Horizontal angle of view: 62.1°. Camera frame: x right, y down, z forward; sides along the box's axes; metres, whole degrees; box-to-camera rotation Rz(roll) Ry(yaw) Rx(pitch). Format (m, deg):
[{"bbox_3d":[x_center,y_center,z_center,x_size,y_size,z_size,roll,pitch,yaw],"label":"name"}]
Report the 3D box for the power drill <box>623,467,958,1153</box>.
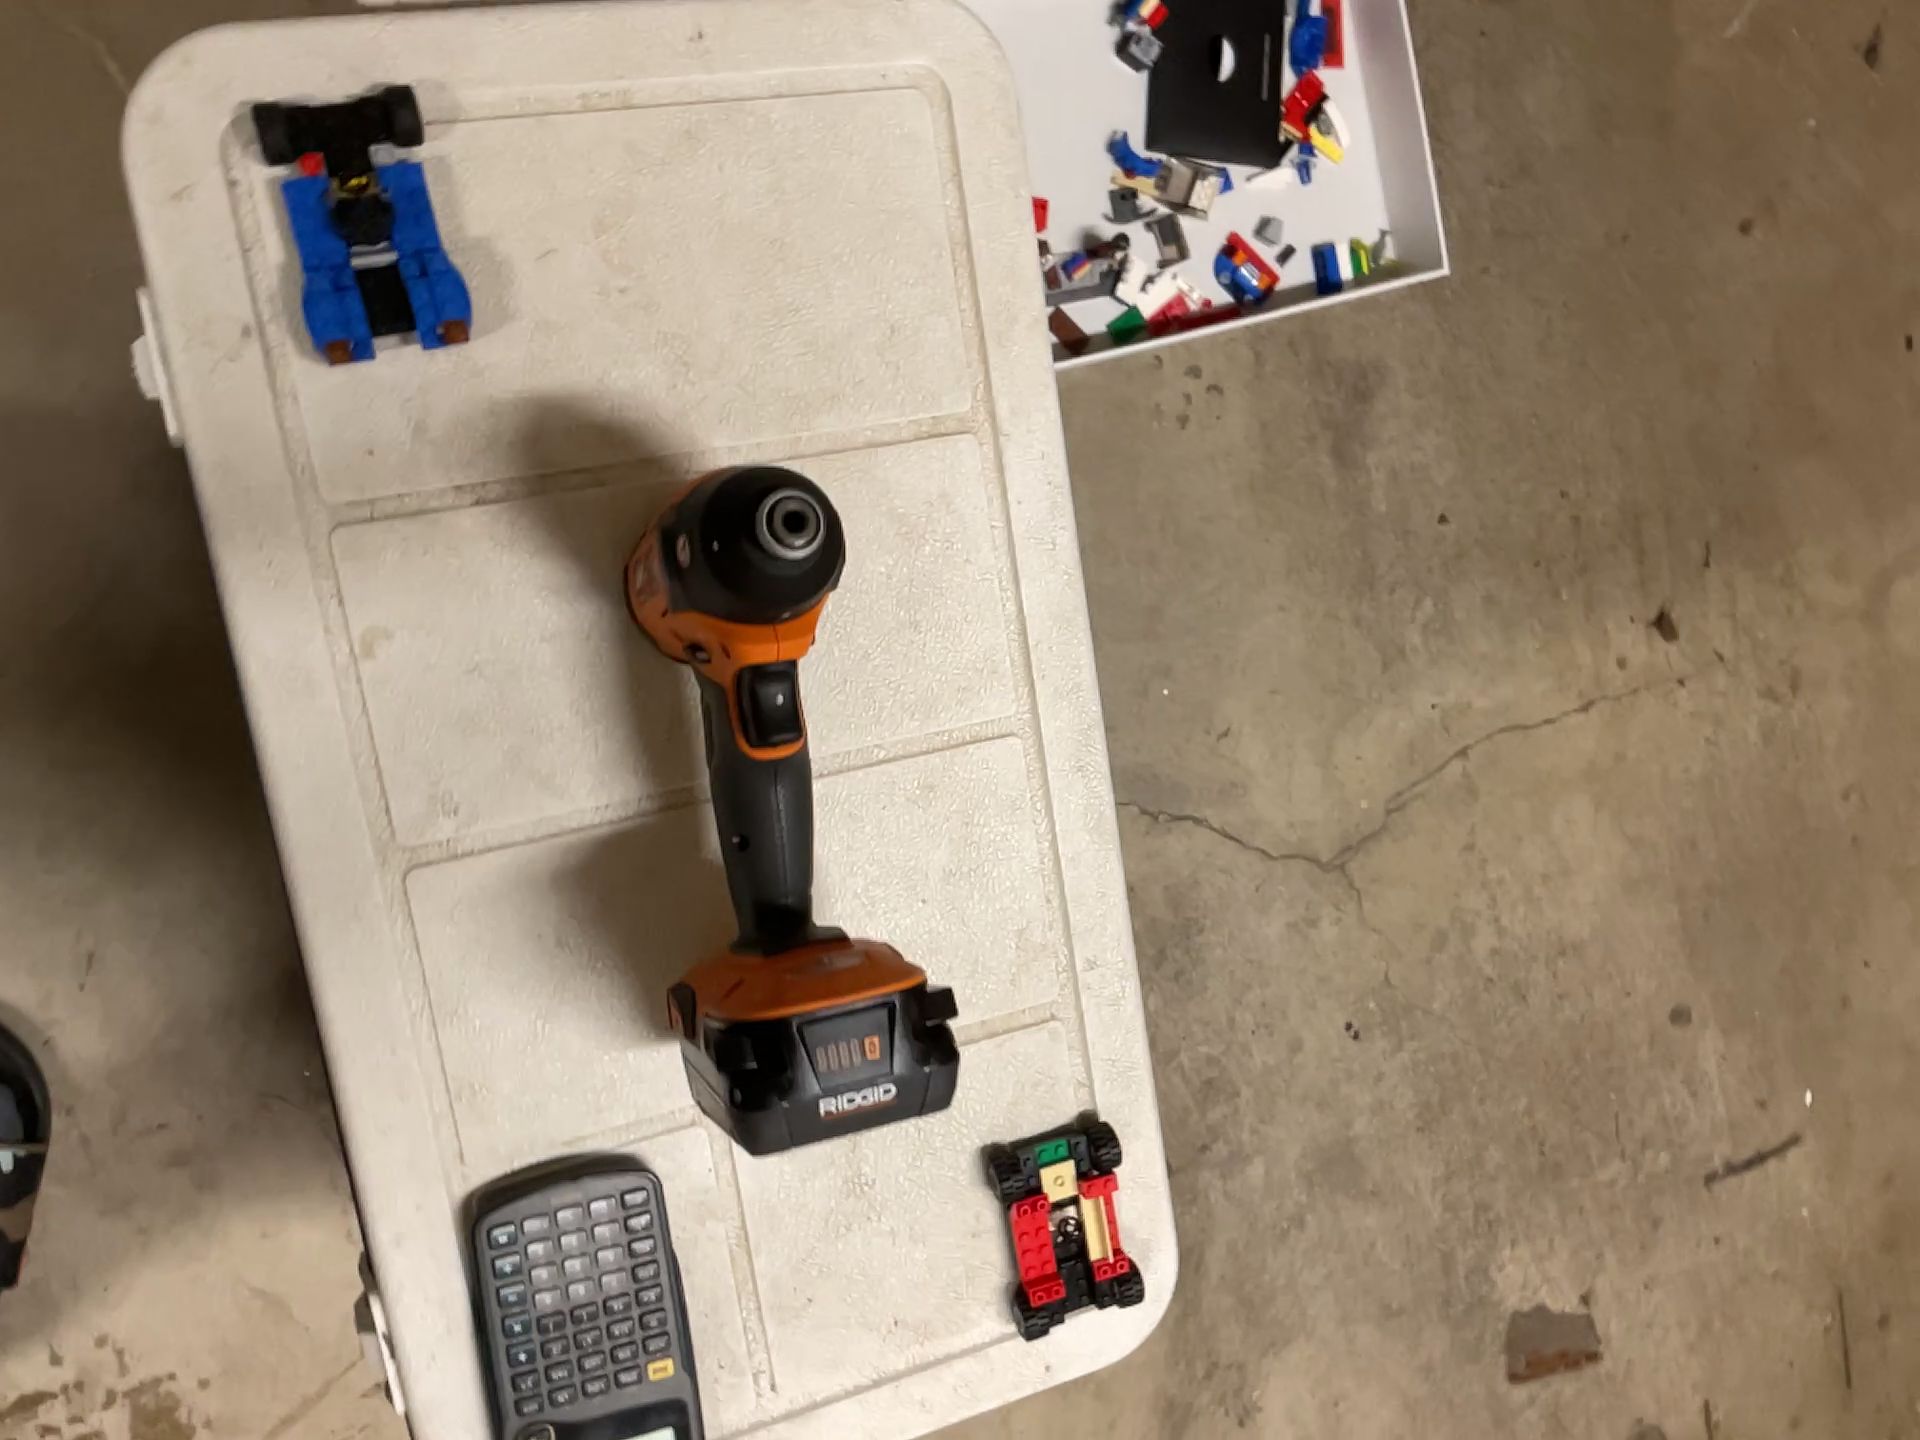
[{"bbox_3d":[-0.064,0.025,0.556,0.084,0.164,0.226,-9,89,-19],"label":"power drill"}]
